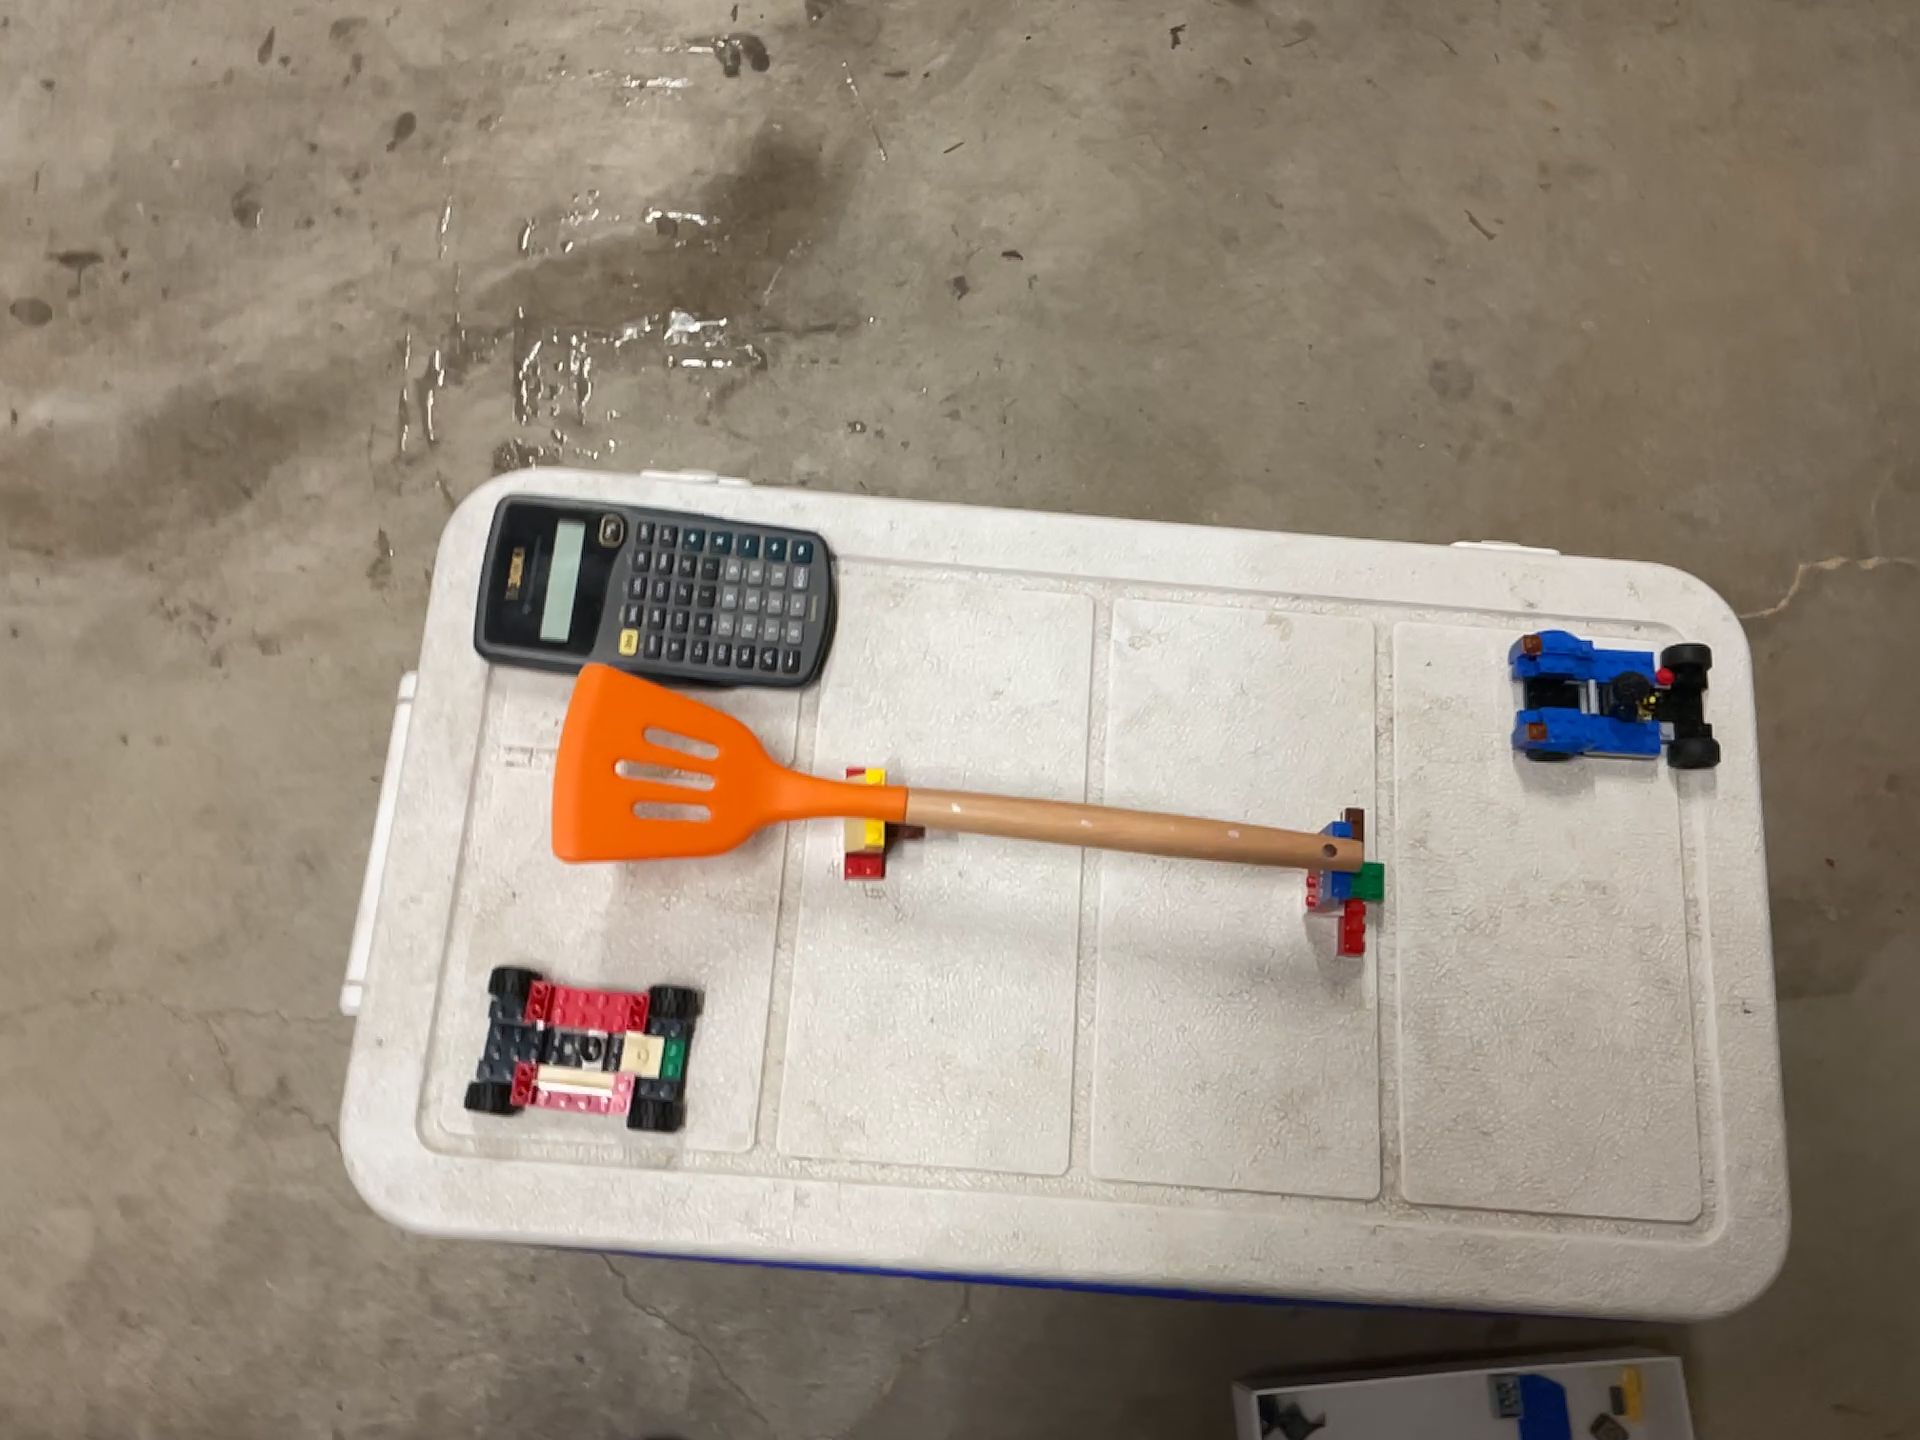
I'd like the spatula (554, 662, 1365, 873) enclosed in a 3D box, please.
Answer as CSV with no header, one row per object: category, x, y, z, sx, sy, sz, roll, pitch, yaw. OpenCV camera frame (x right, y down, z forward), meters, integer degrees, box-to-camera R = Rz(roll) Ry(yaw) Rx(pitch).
spatula,0.004,0.036,0.641,0.322,0.041,0.081,6,77,0
